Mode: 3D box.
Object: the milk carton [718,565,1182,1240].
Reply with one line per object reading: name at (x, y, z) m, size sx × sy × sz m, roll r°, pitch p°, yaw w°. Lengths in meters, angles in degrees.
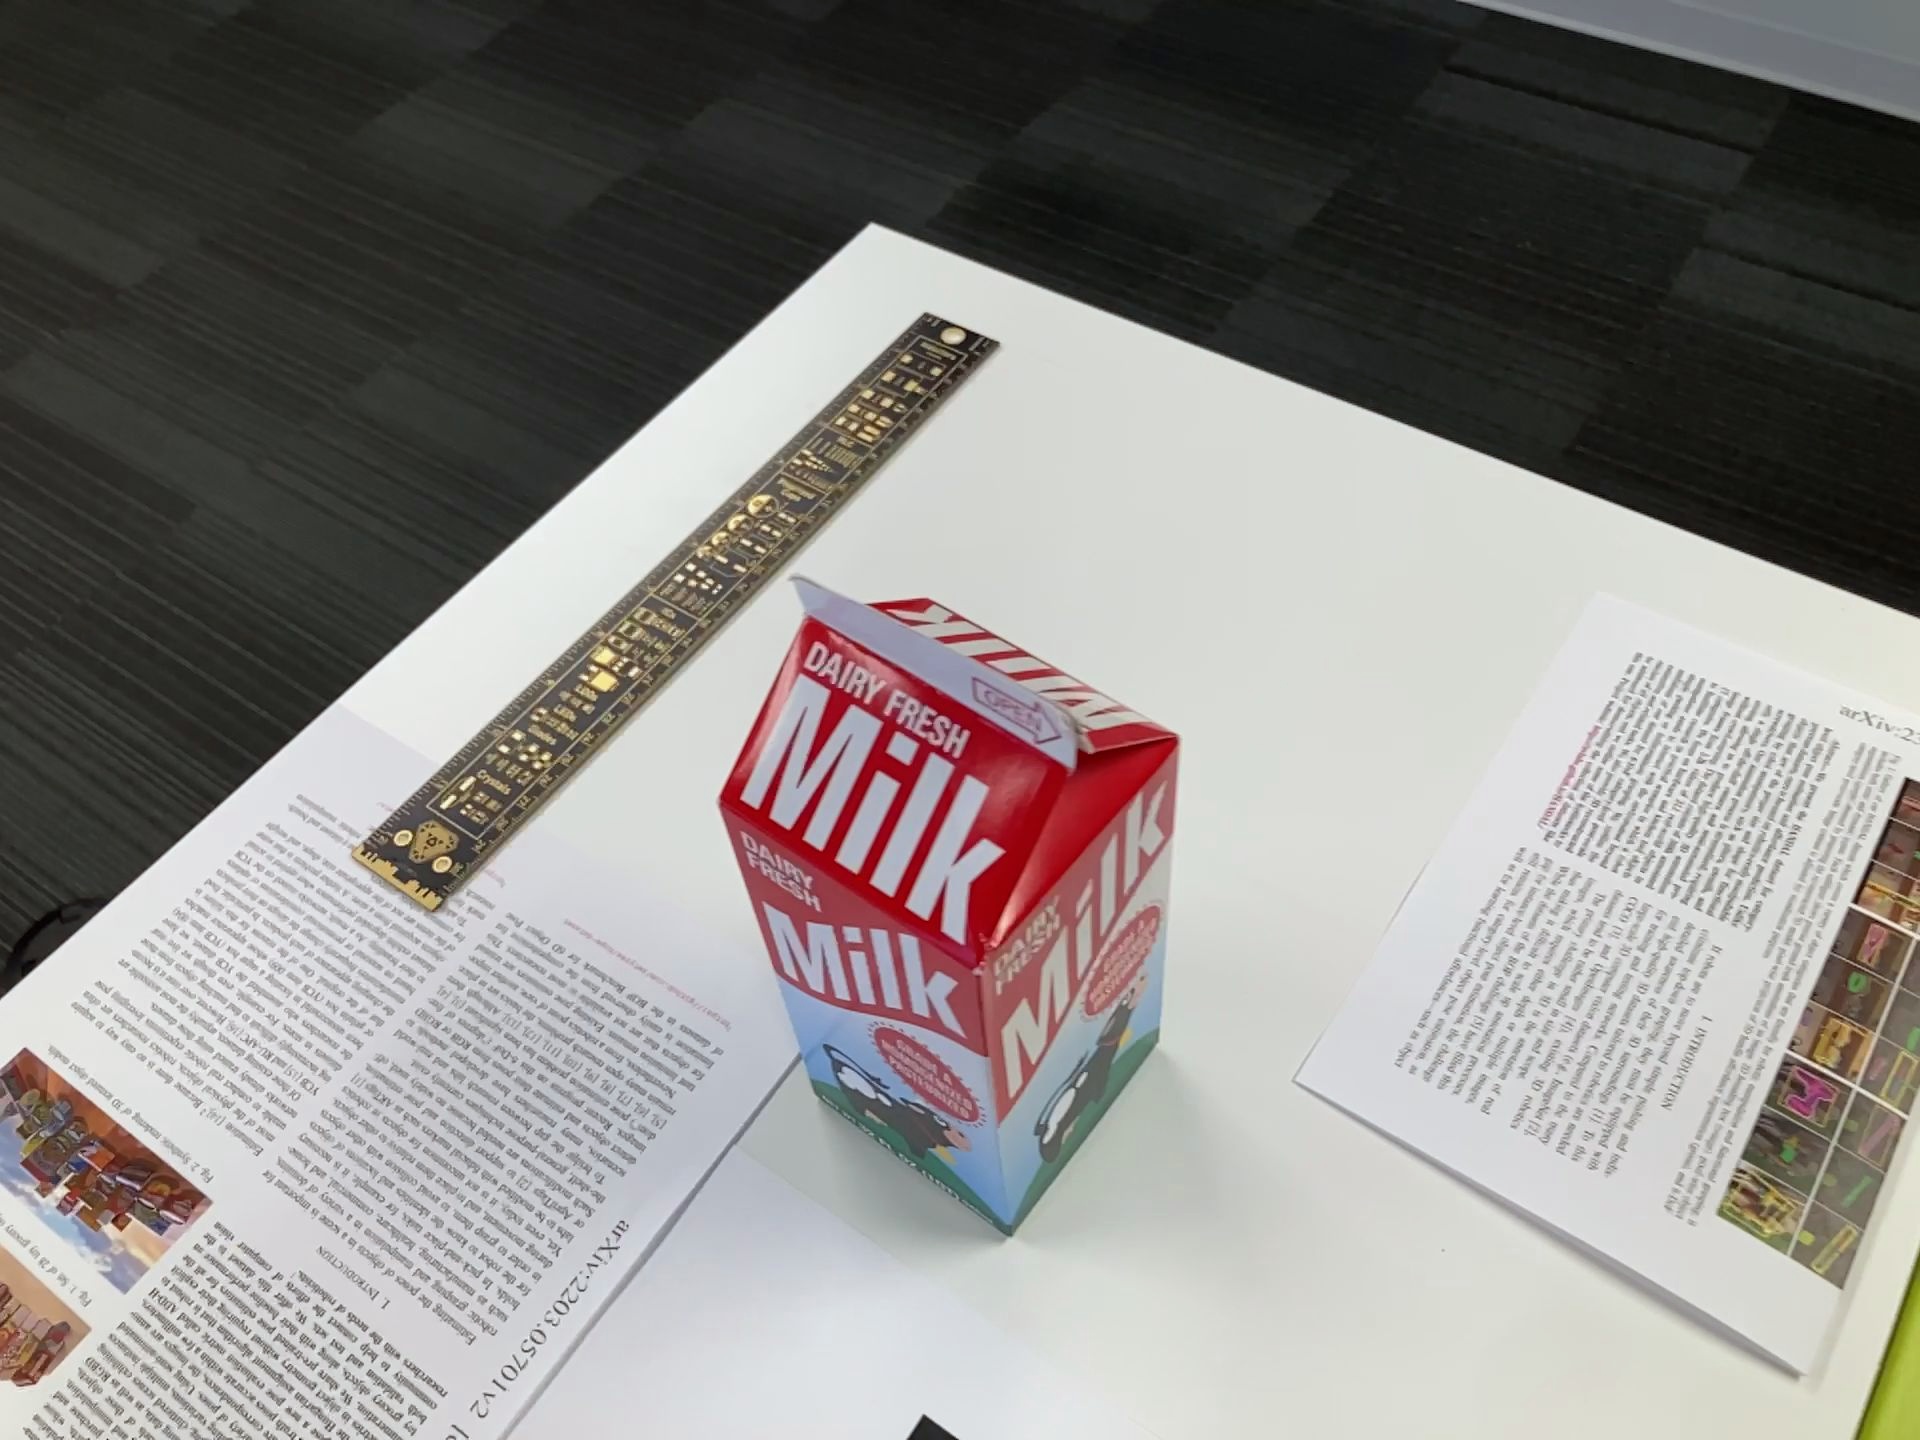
milk carton at (0.001, 0.042, 0.374) m, size 0.072 × 0.190 × 0.073 m, roll 30°, pitch 61°, yaw 25°
